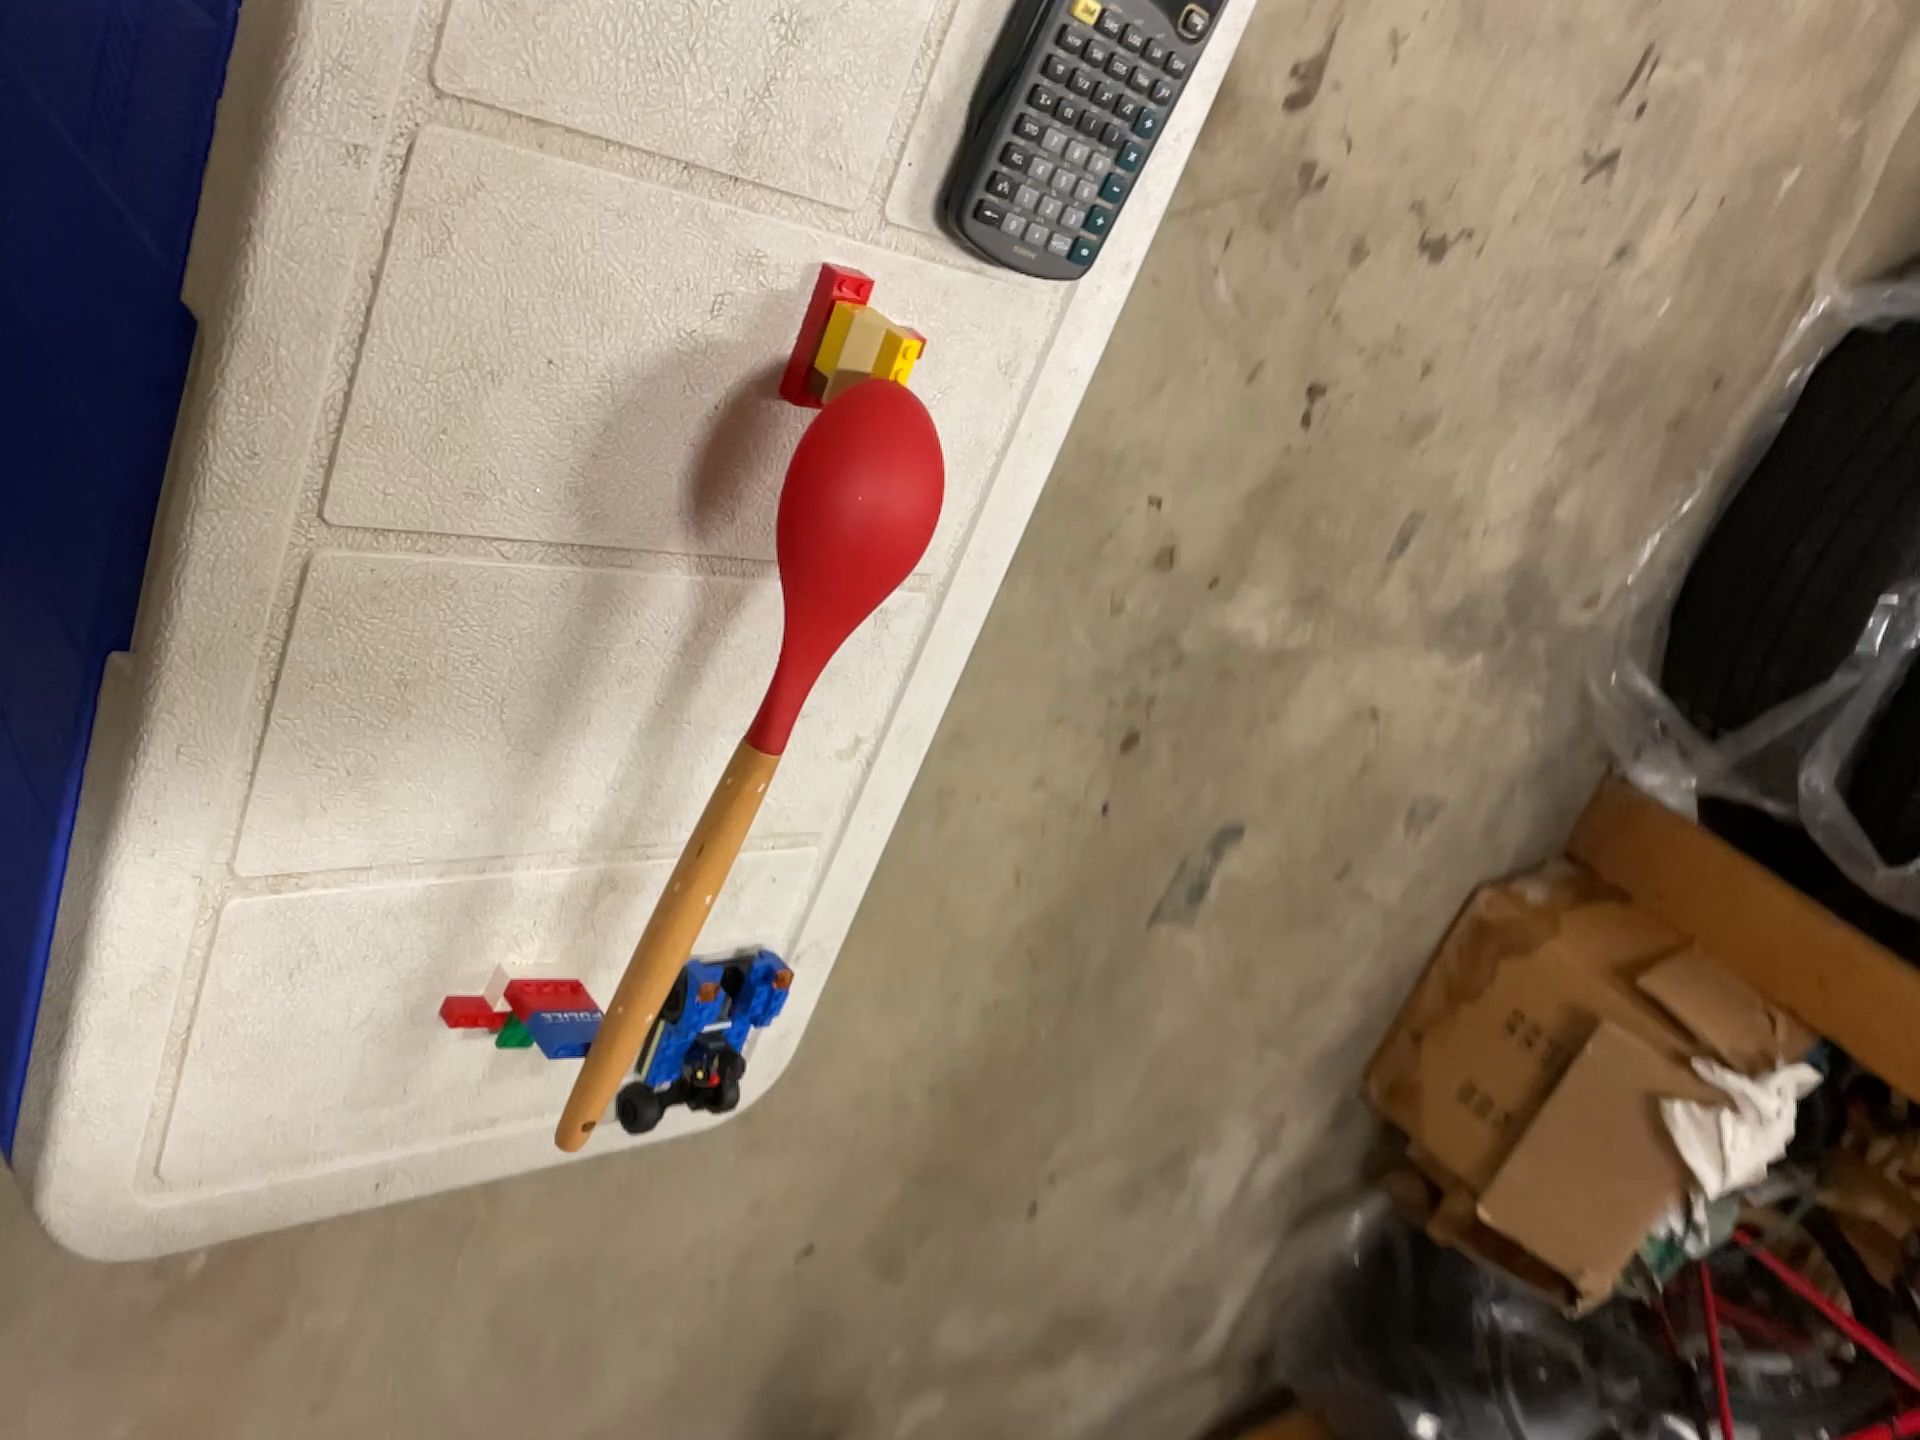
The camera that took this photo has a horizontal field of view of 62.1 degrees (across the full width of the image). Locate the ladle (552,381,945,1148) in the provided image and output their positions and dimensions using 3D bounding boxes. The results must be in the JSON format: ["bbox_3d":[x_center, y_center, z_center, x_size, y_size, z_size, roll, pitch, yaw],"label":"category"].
[{"bbox_3d":[-0.083,0.029,0.566,0.069,0.031,0.315,6,118,-49],"label":"ladle"}]
